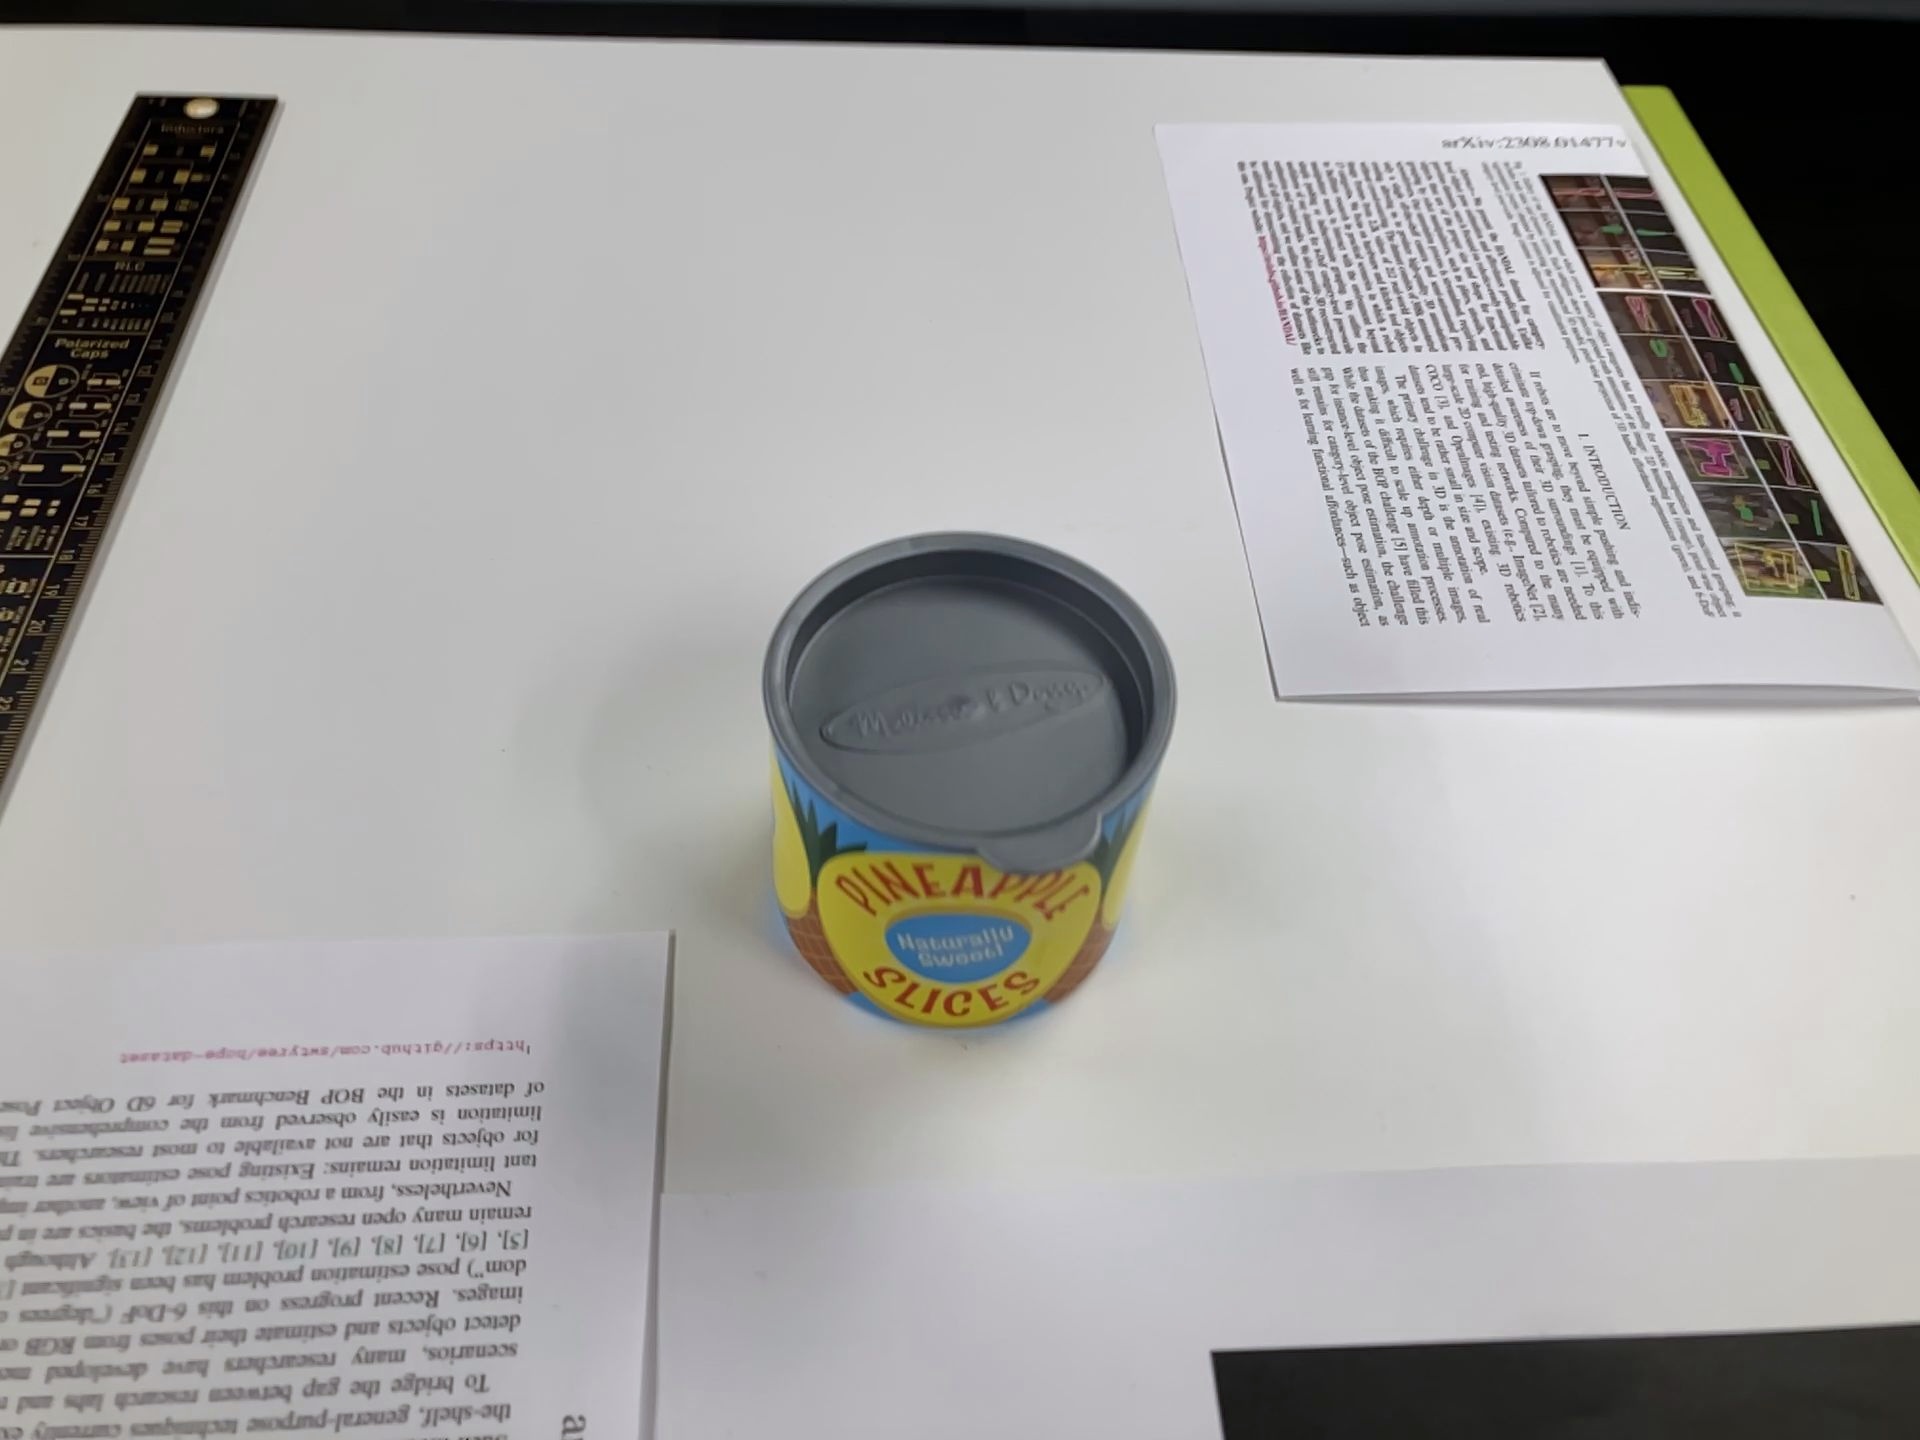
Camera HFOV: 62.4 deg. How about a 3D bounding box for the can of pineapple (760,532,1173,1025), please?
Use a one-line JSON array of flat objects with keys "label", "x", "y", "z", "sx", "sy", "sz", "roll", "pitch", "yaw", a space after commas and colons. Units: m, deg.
[{"label": "can of pineapple", "x": 0.000, "y": 0.012, "z": 0.273, "sx": 0.071, "sy": 0.058, "sz": 0.071, "roll": 2, "pitch": 51, "yaw": -2}]
